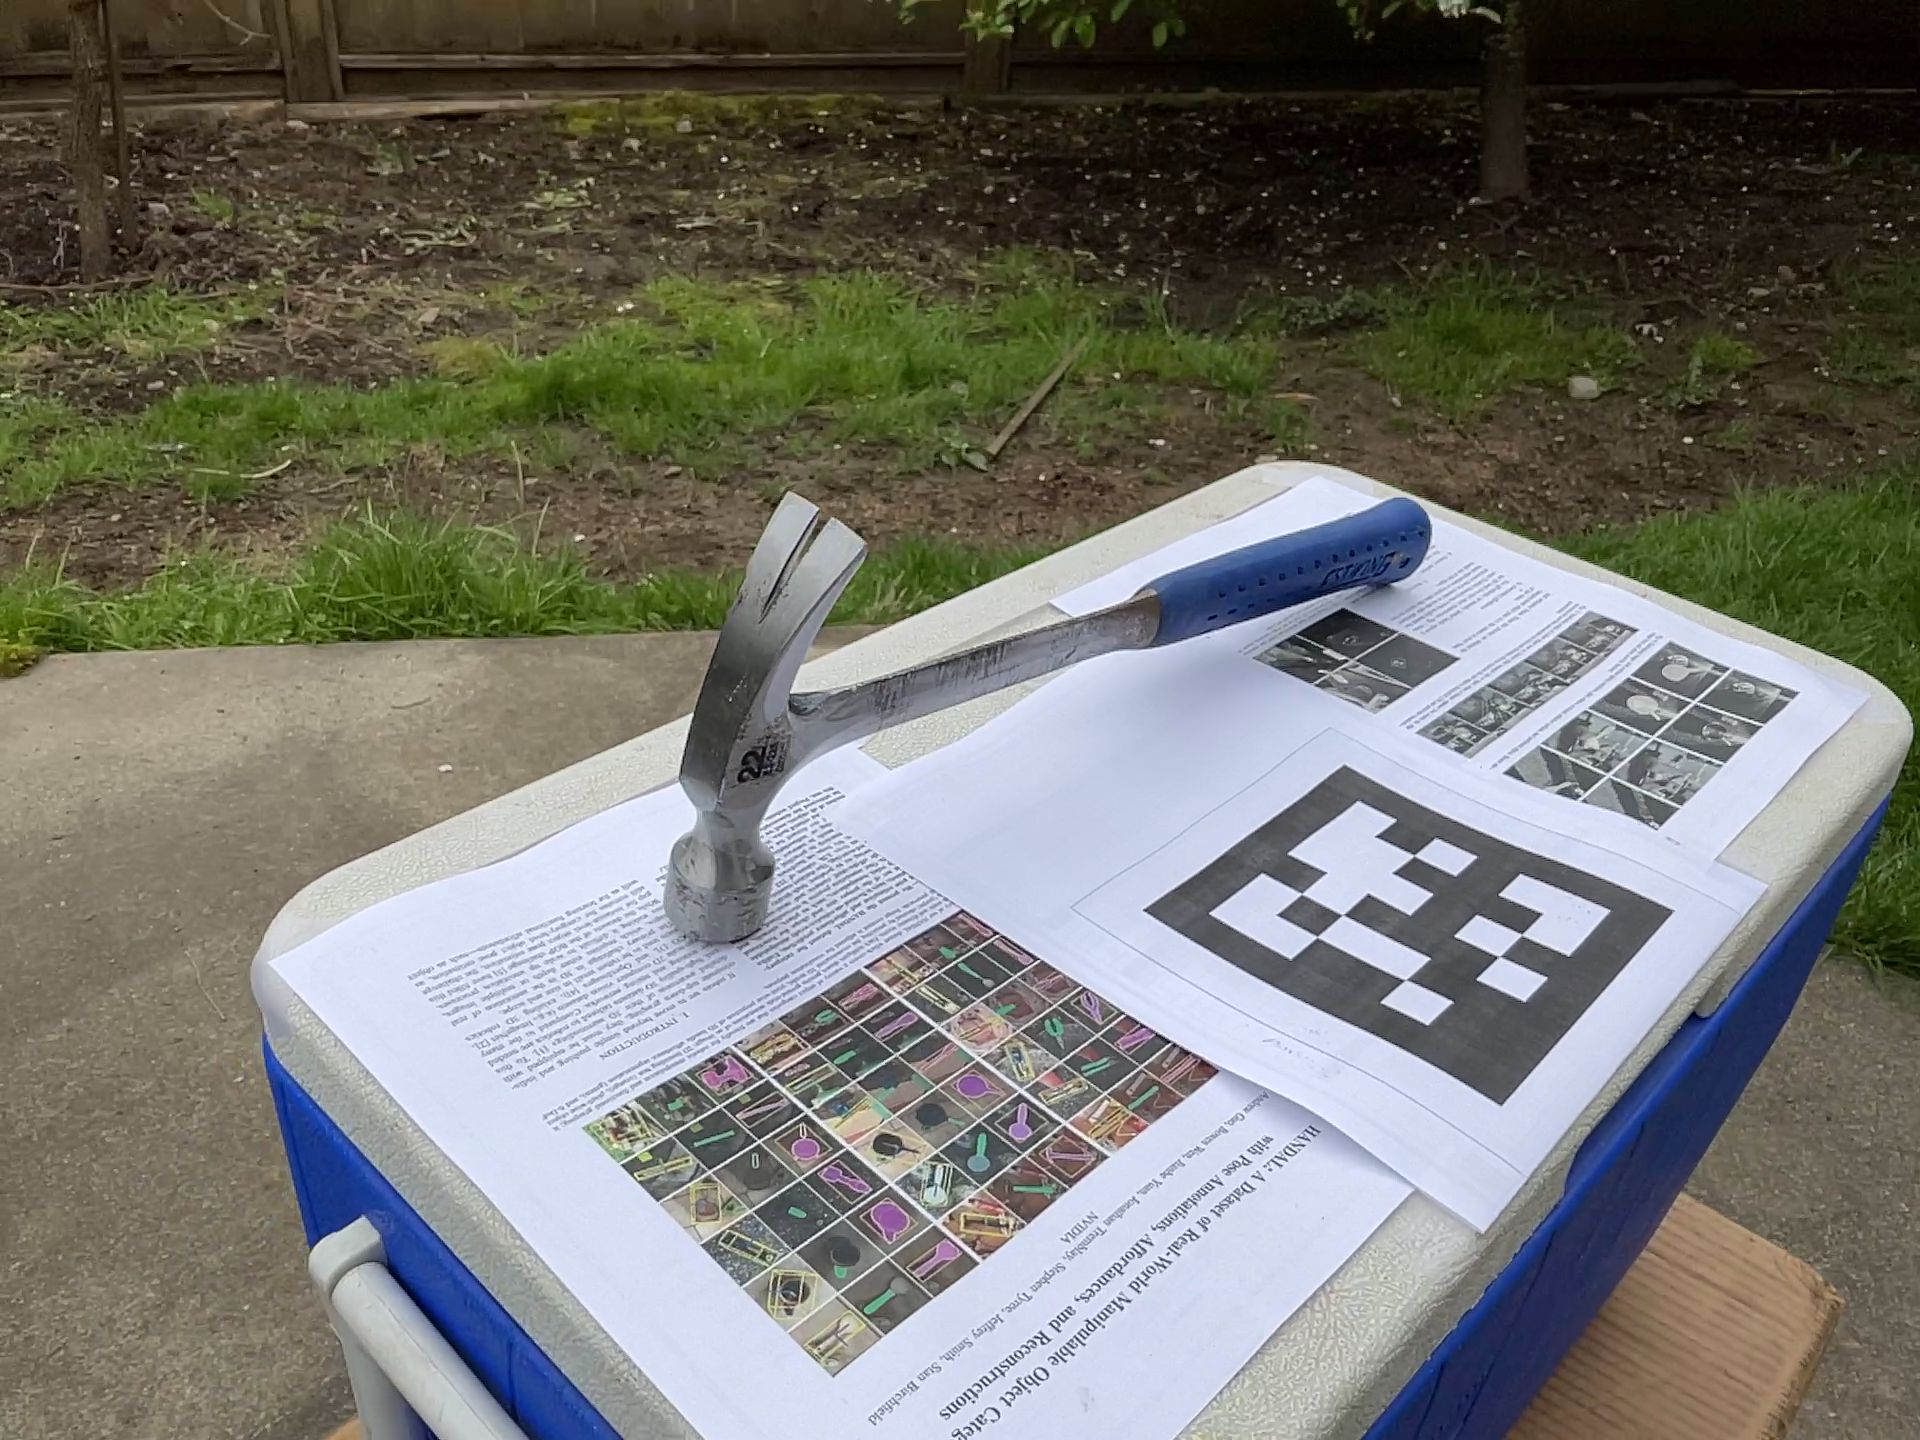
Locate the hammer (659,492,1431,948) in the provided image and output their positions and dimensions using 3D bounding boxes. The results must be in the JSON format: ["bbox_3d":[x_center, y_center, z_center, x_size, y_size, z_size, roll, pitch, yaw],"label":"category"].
[{"bbox_3d":[0.065,-0.039,0.602,0.405,0.144,0.035,-19,45,-43],"label":"hammer"}]
